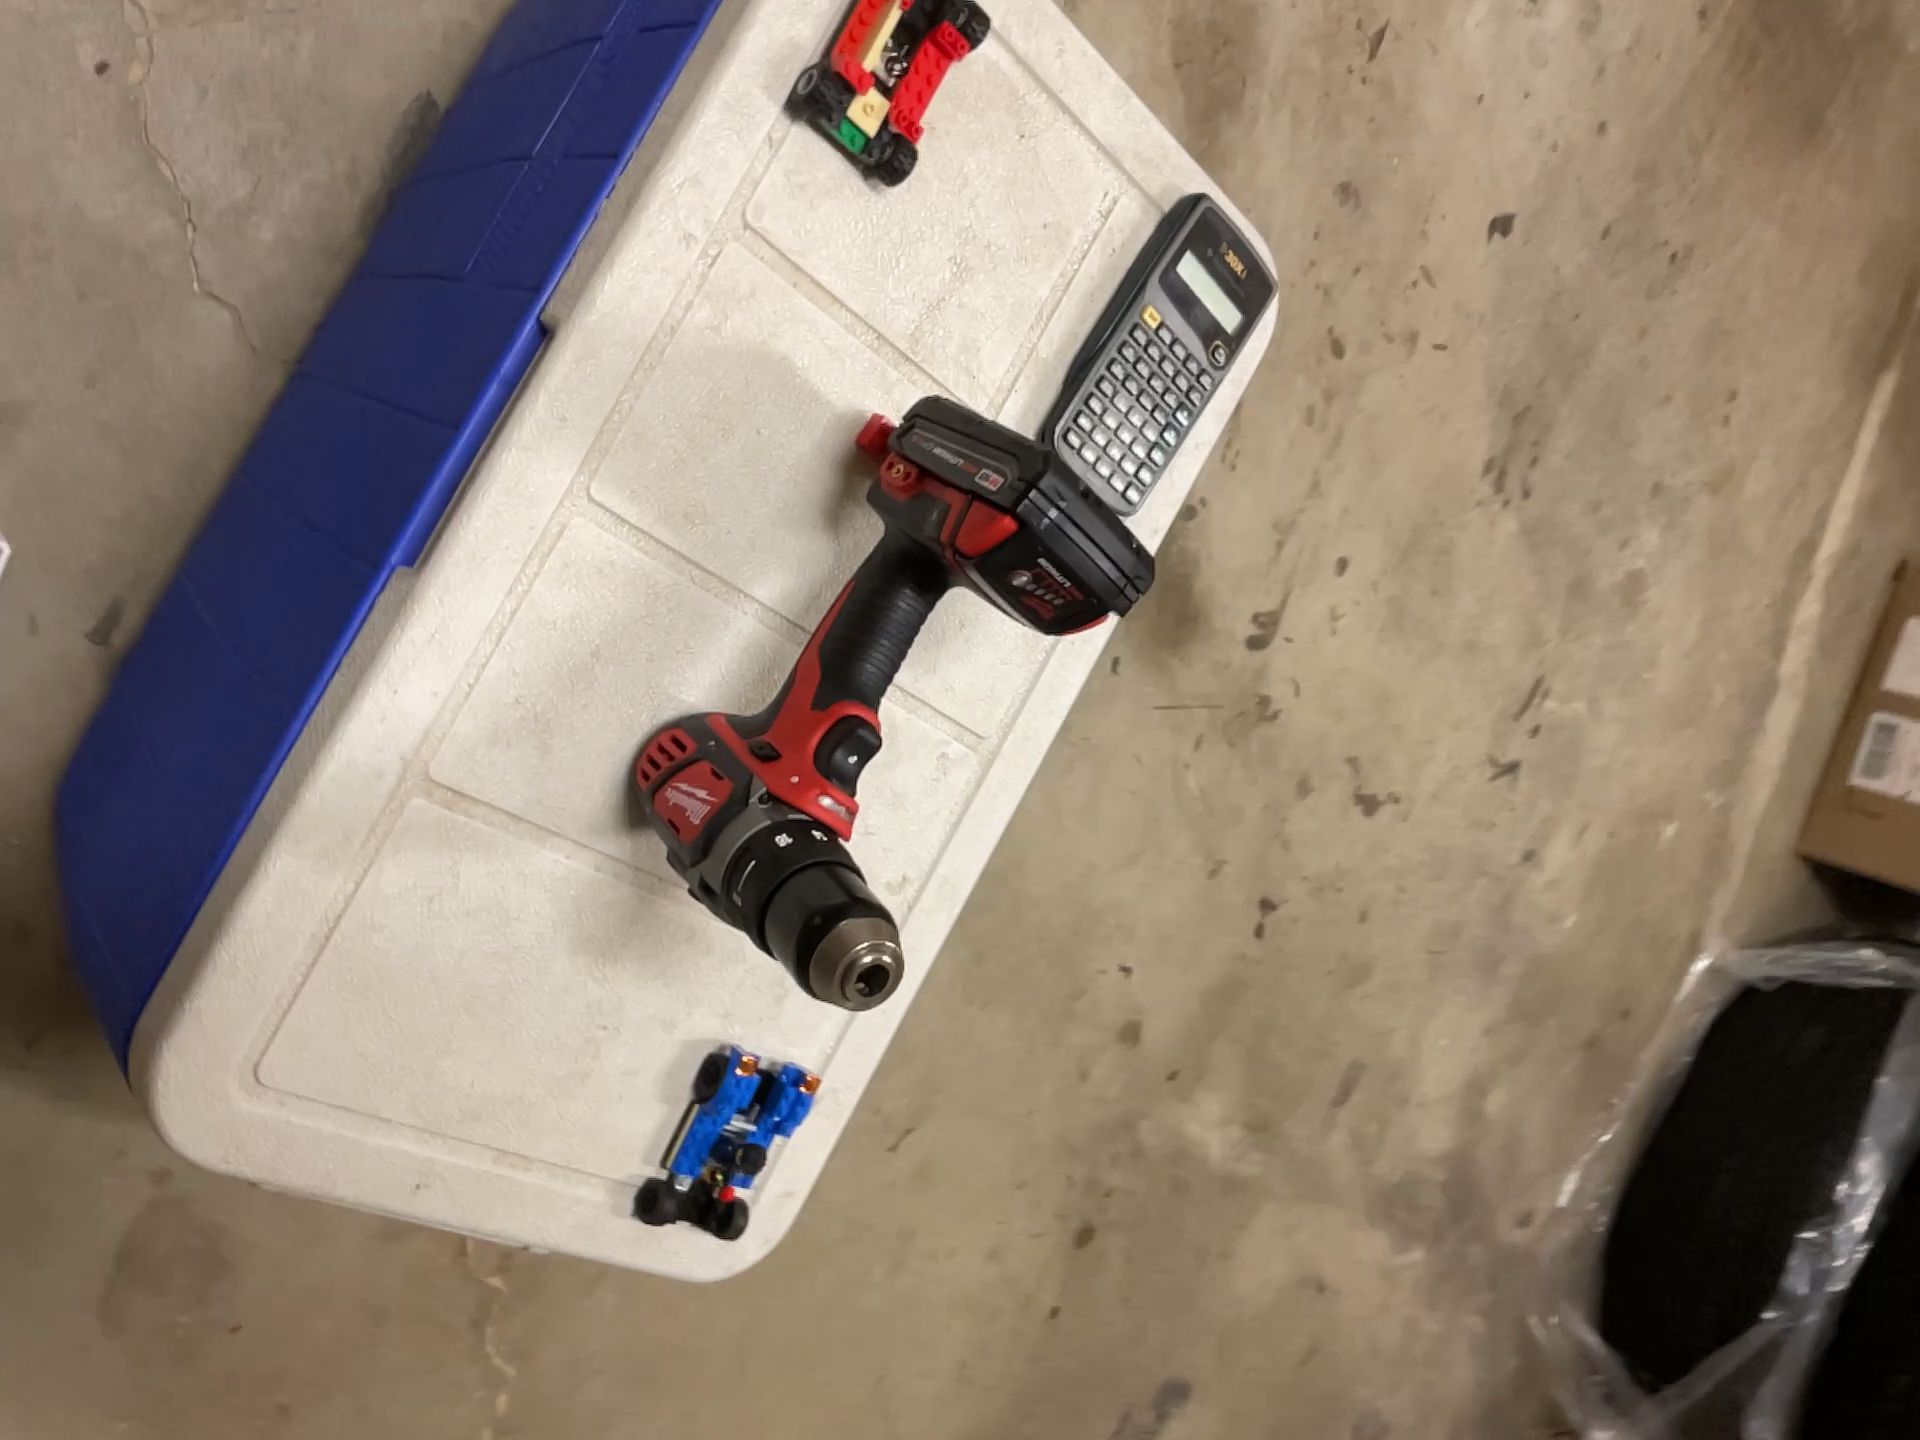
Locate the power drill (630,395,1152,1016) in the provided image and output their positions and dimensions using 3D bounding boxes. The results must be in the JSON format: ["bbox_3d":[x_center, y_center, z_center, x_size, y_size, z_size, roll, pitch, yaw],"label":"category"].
[{"bbox_3d":[-0.027,-0.006,0.639,0.226,0.188,0.080,-51,128,0],"label":"power drill"}]
